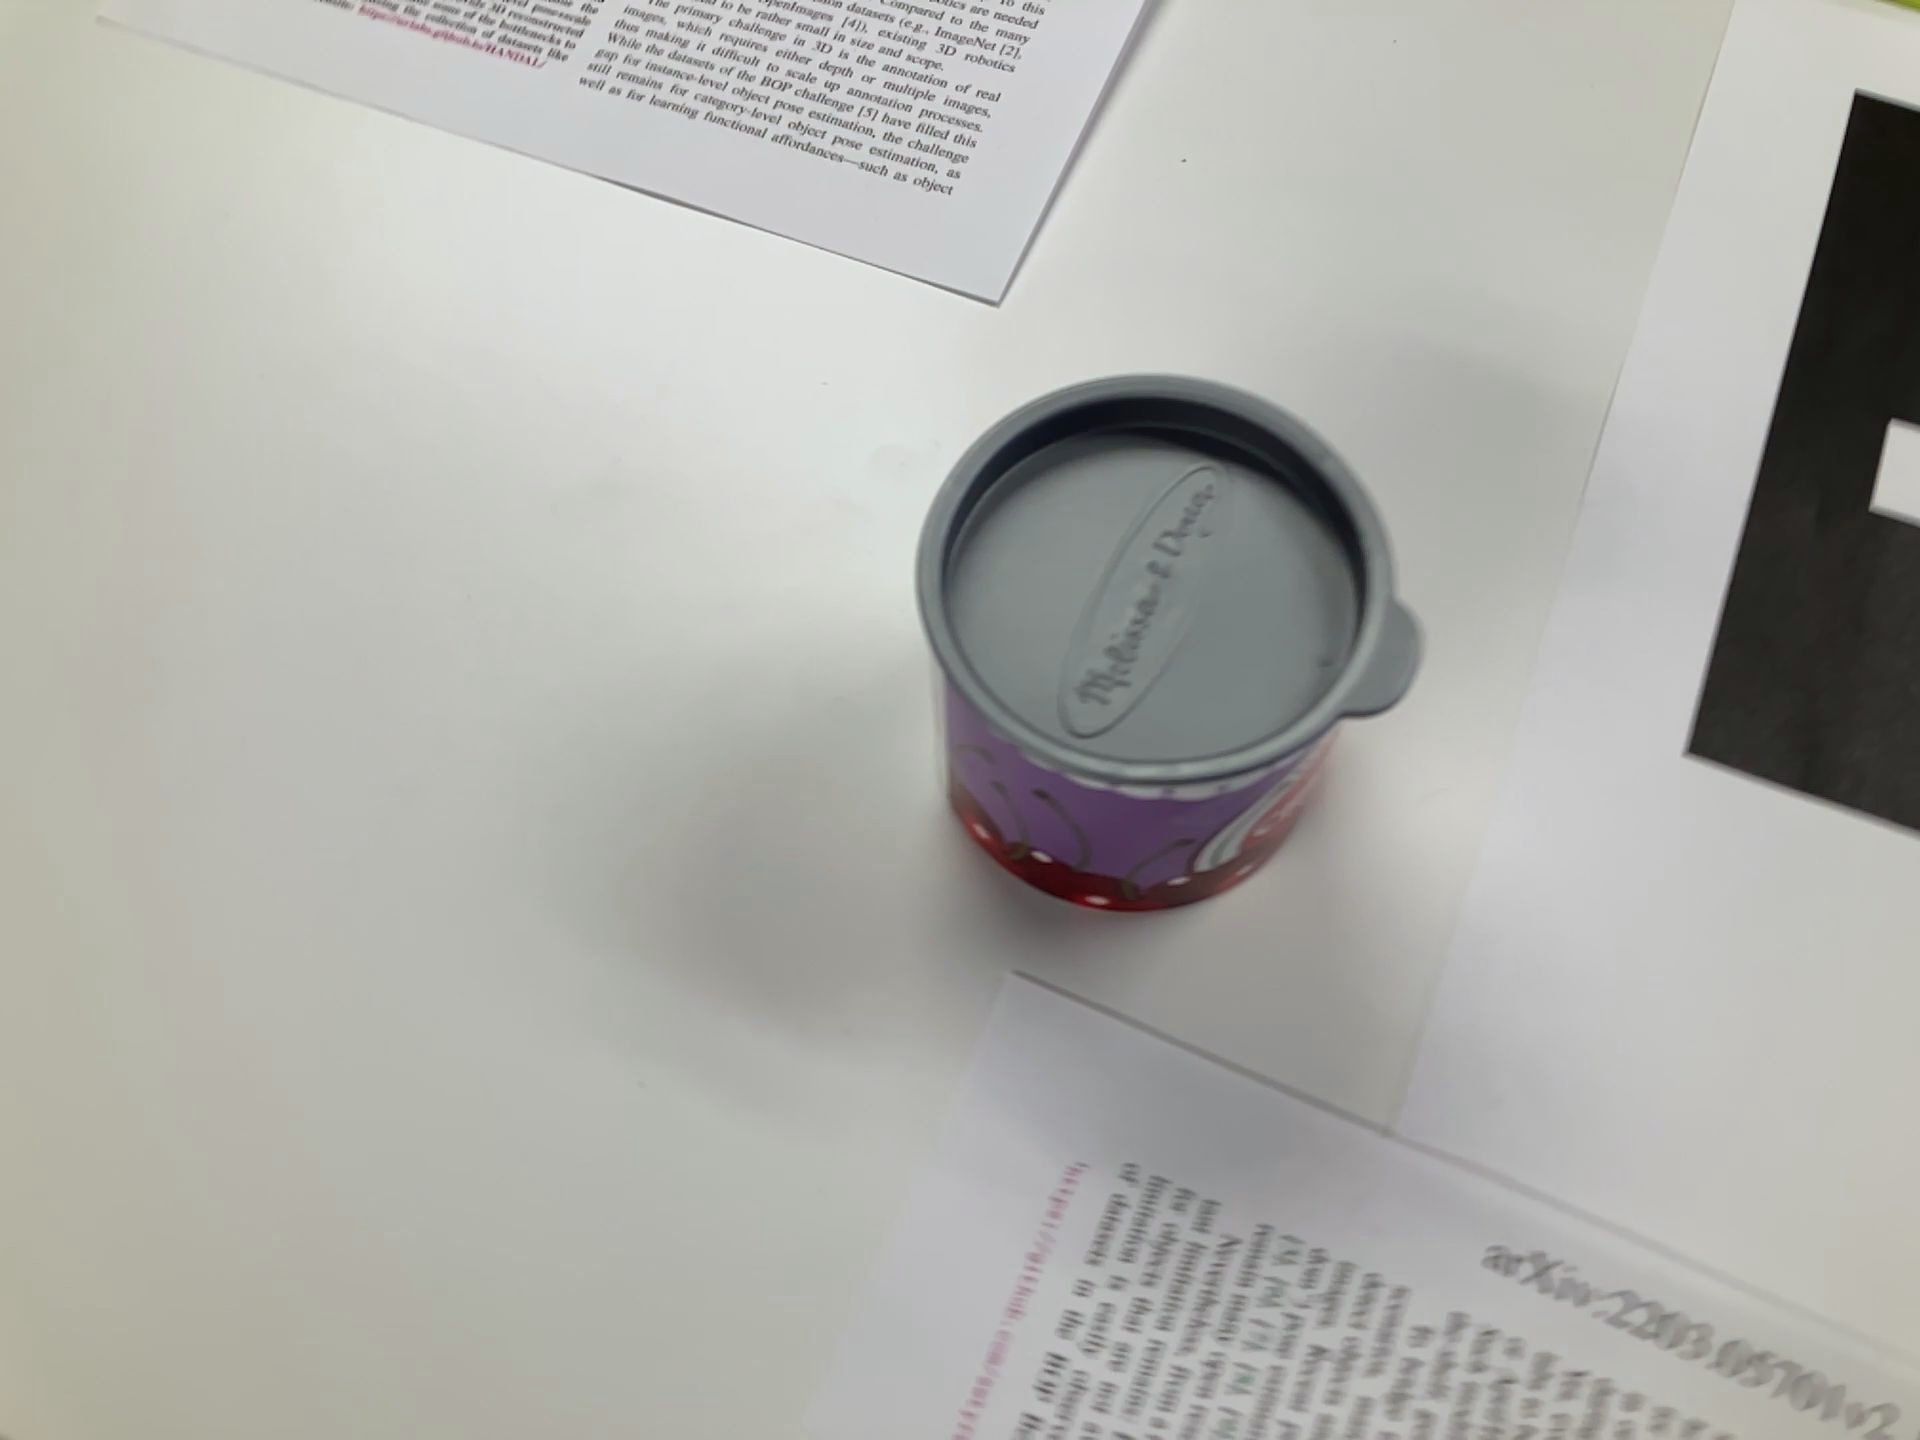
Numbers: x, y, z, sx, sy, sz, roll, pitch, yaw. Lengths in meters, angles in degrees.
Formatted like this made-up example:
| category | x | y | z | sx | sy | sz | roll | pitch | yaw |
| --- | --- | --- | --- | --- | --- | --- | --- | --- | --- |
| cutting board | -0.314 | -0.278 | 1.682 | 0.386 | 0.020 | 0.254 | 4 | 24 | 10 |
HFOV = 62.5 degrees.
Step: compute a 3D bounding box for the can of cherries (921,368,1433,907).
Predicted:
| category | x | y | z | sx | sy | sz | roll | pitch | yaw |
| --- | --- | --- | --- | --- | --- | --- | --- | --- | --- |
| can of cherries | 0.031 | -0.009 | 0.245 | 0.071 | 0.058 | 0.071 | -1 | 65 | 1 |
